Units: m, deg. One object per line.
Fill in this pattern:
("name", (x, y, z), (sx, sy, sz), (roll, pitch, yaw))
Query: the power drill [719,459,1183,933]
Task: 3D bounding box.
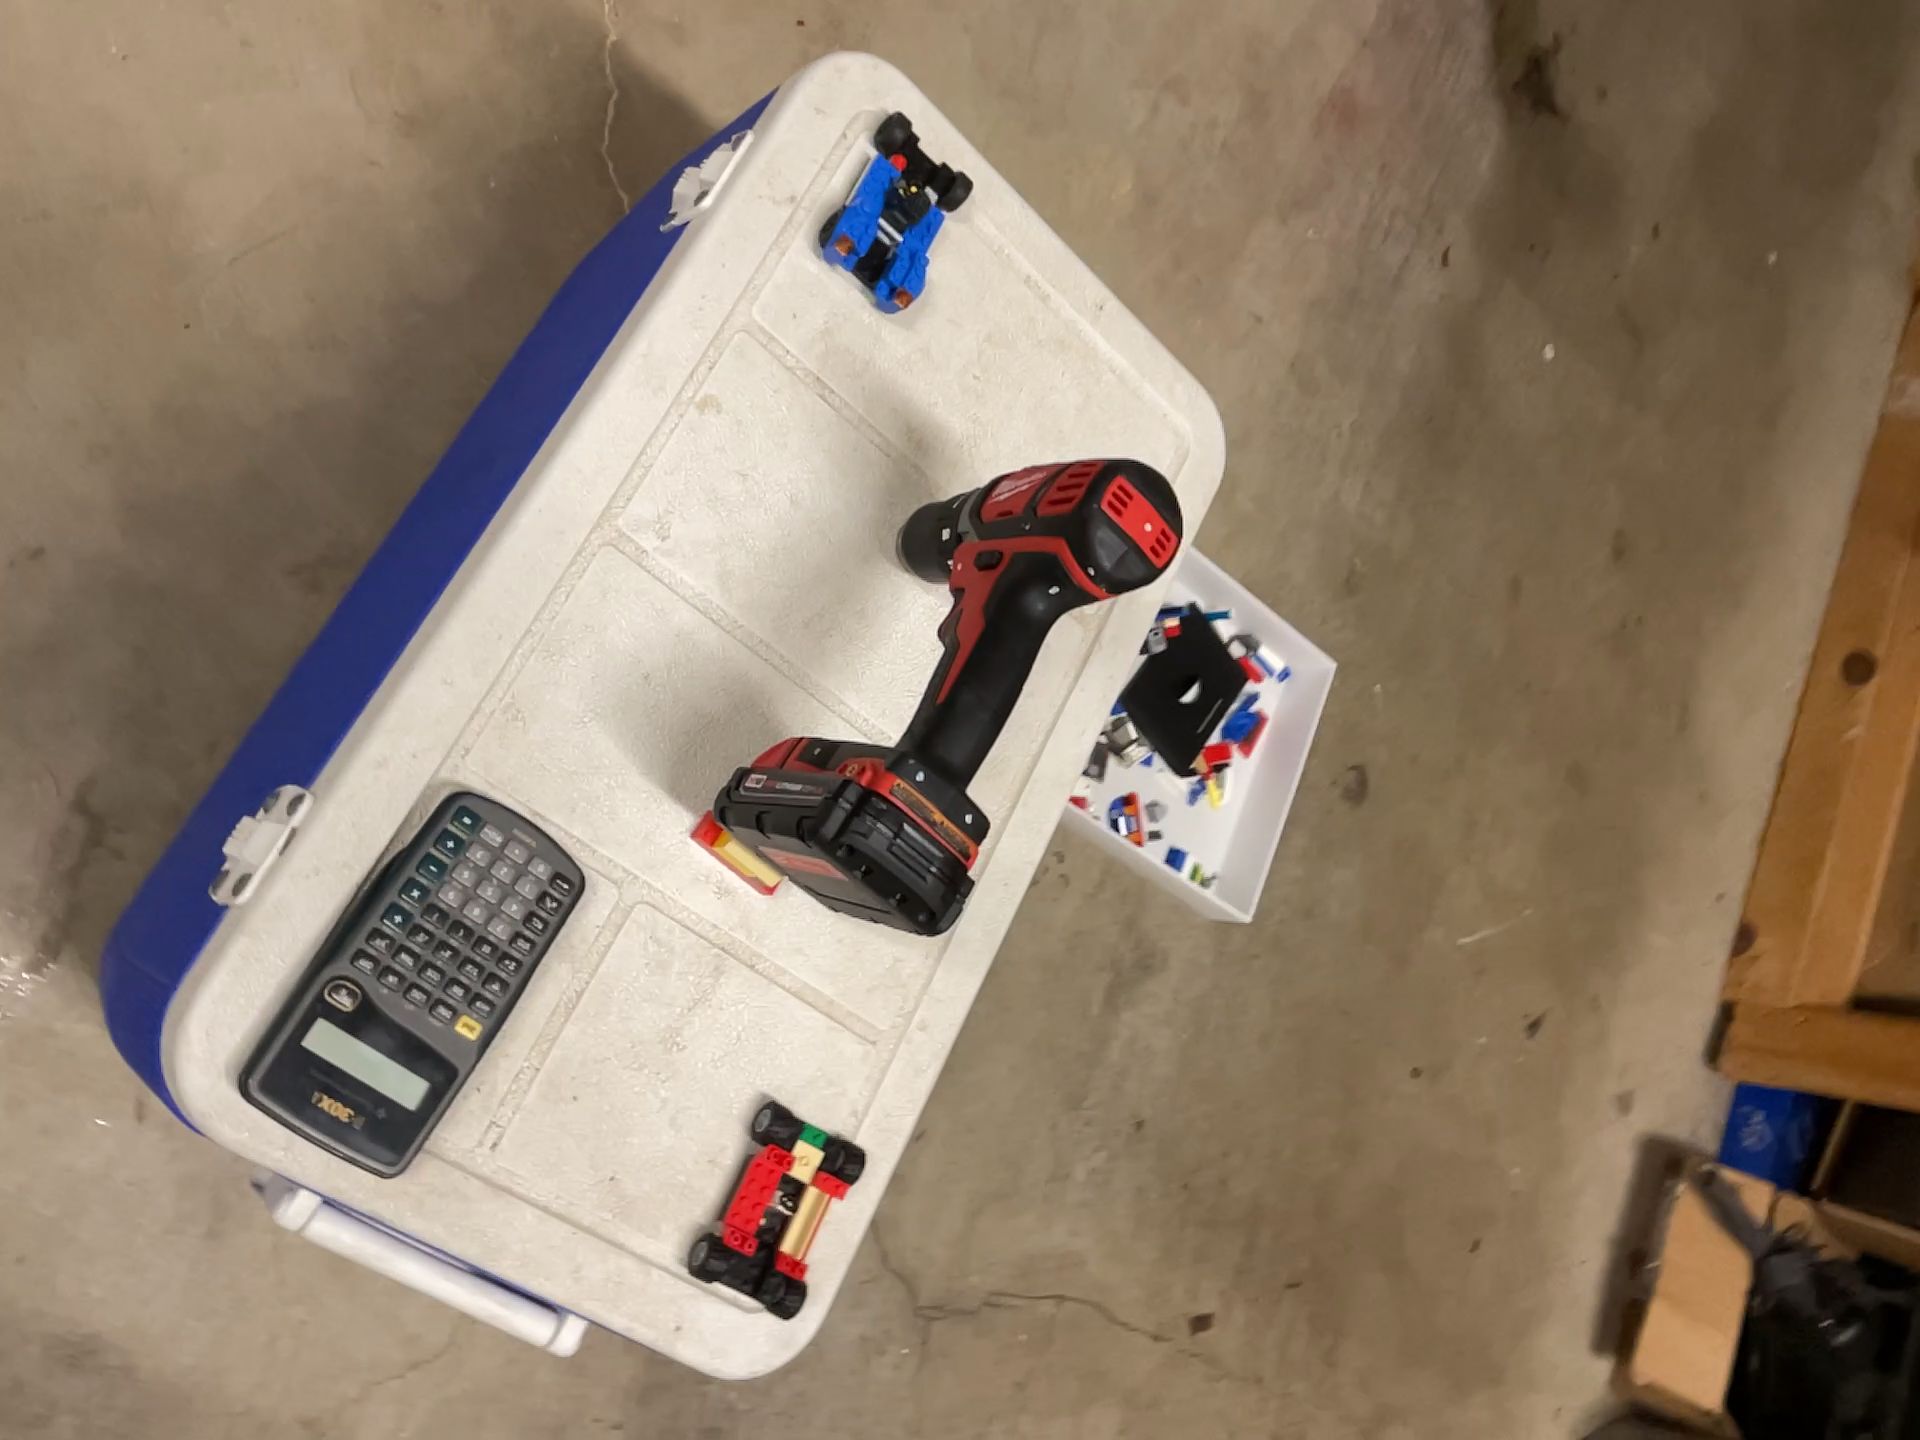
("power drill", (-0.012, -0.024, 0.741), (0.080, 0.188, 0.227), (42, 71, -25))
